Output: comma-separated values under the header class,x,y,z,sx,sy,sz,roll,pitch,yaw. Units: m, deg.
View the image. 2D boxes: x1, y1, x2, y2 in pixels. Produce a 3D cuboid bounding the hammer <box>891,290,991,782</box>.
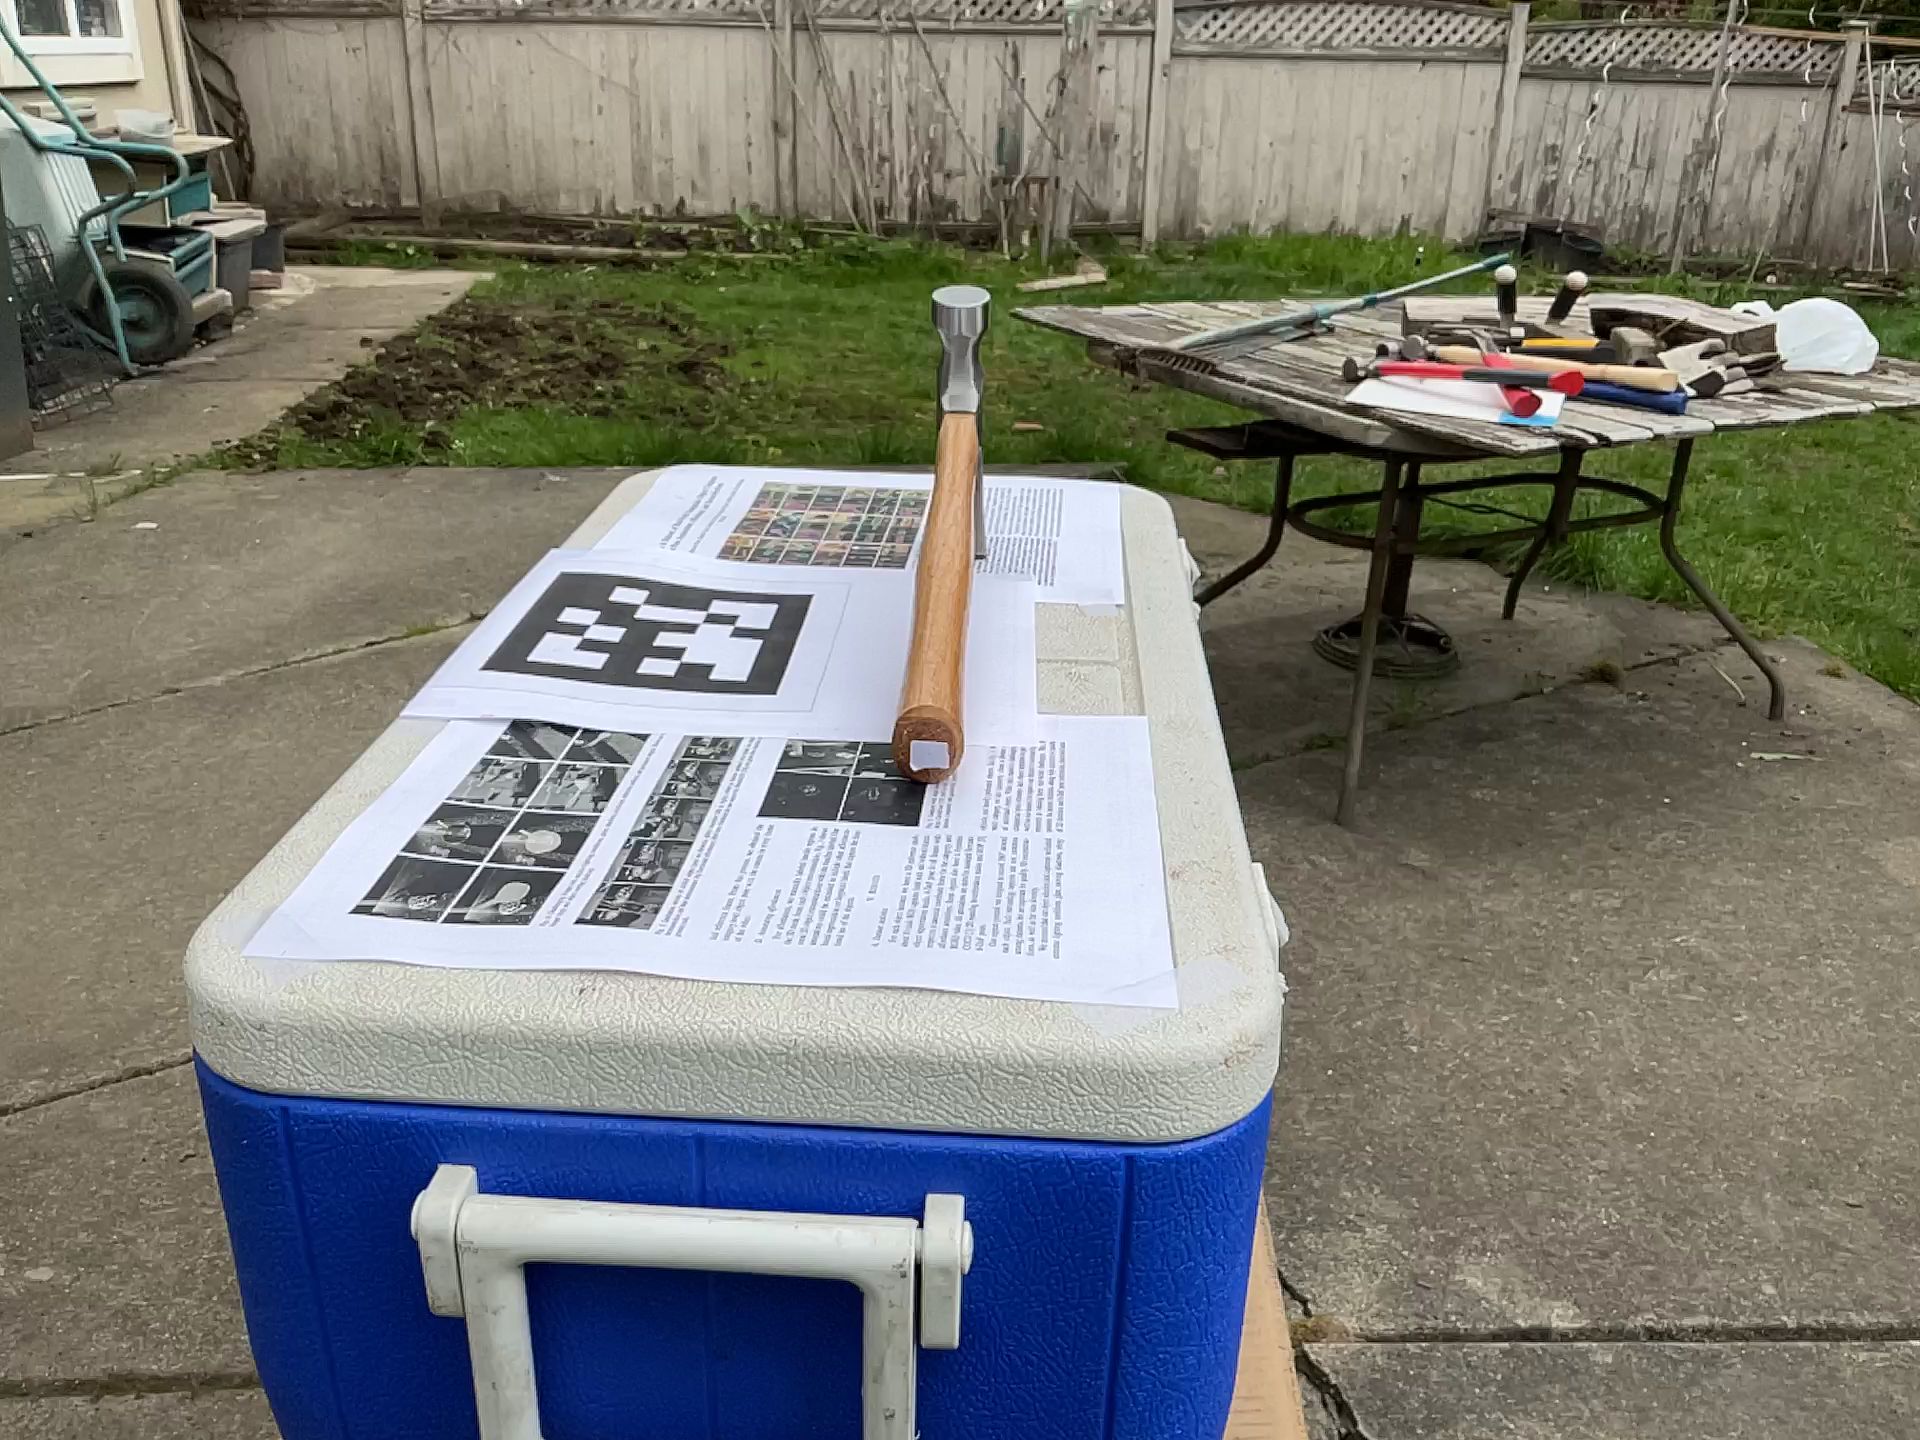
class,x,y,z,sx,sy,sz,roll,pitch,yaw
hammer,-0.006,-0.080,0.738,0.031,0.130,0.331,1,35,2
